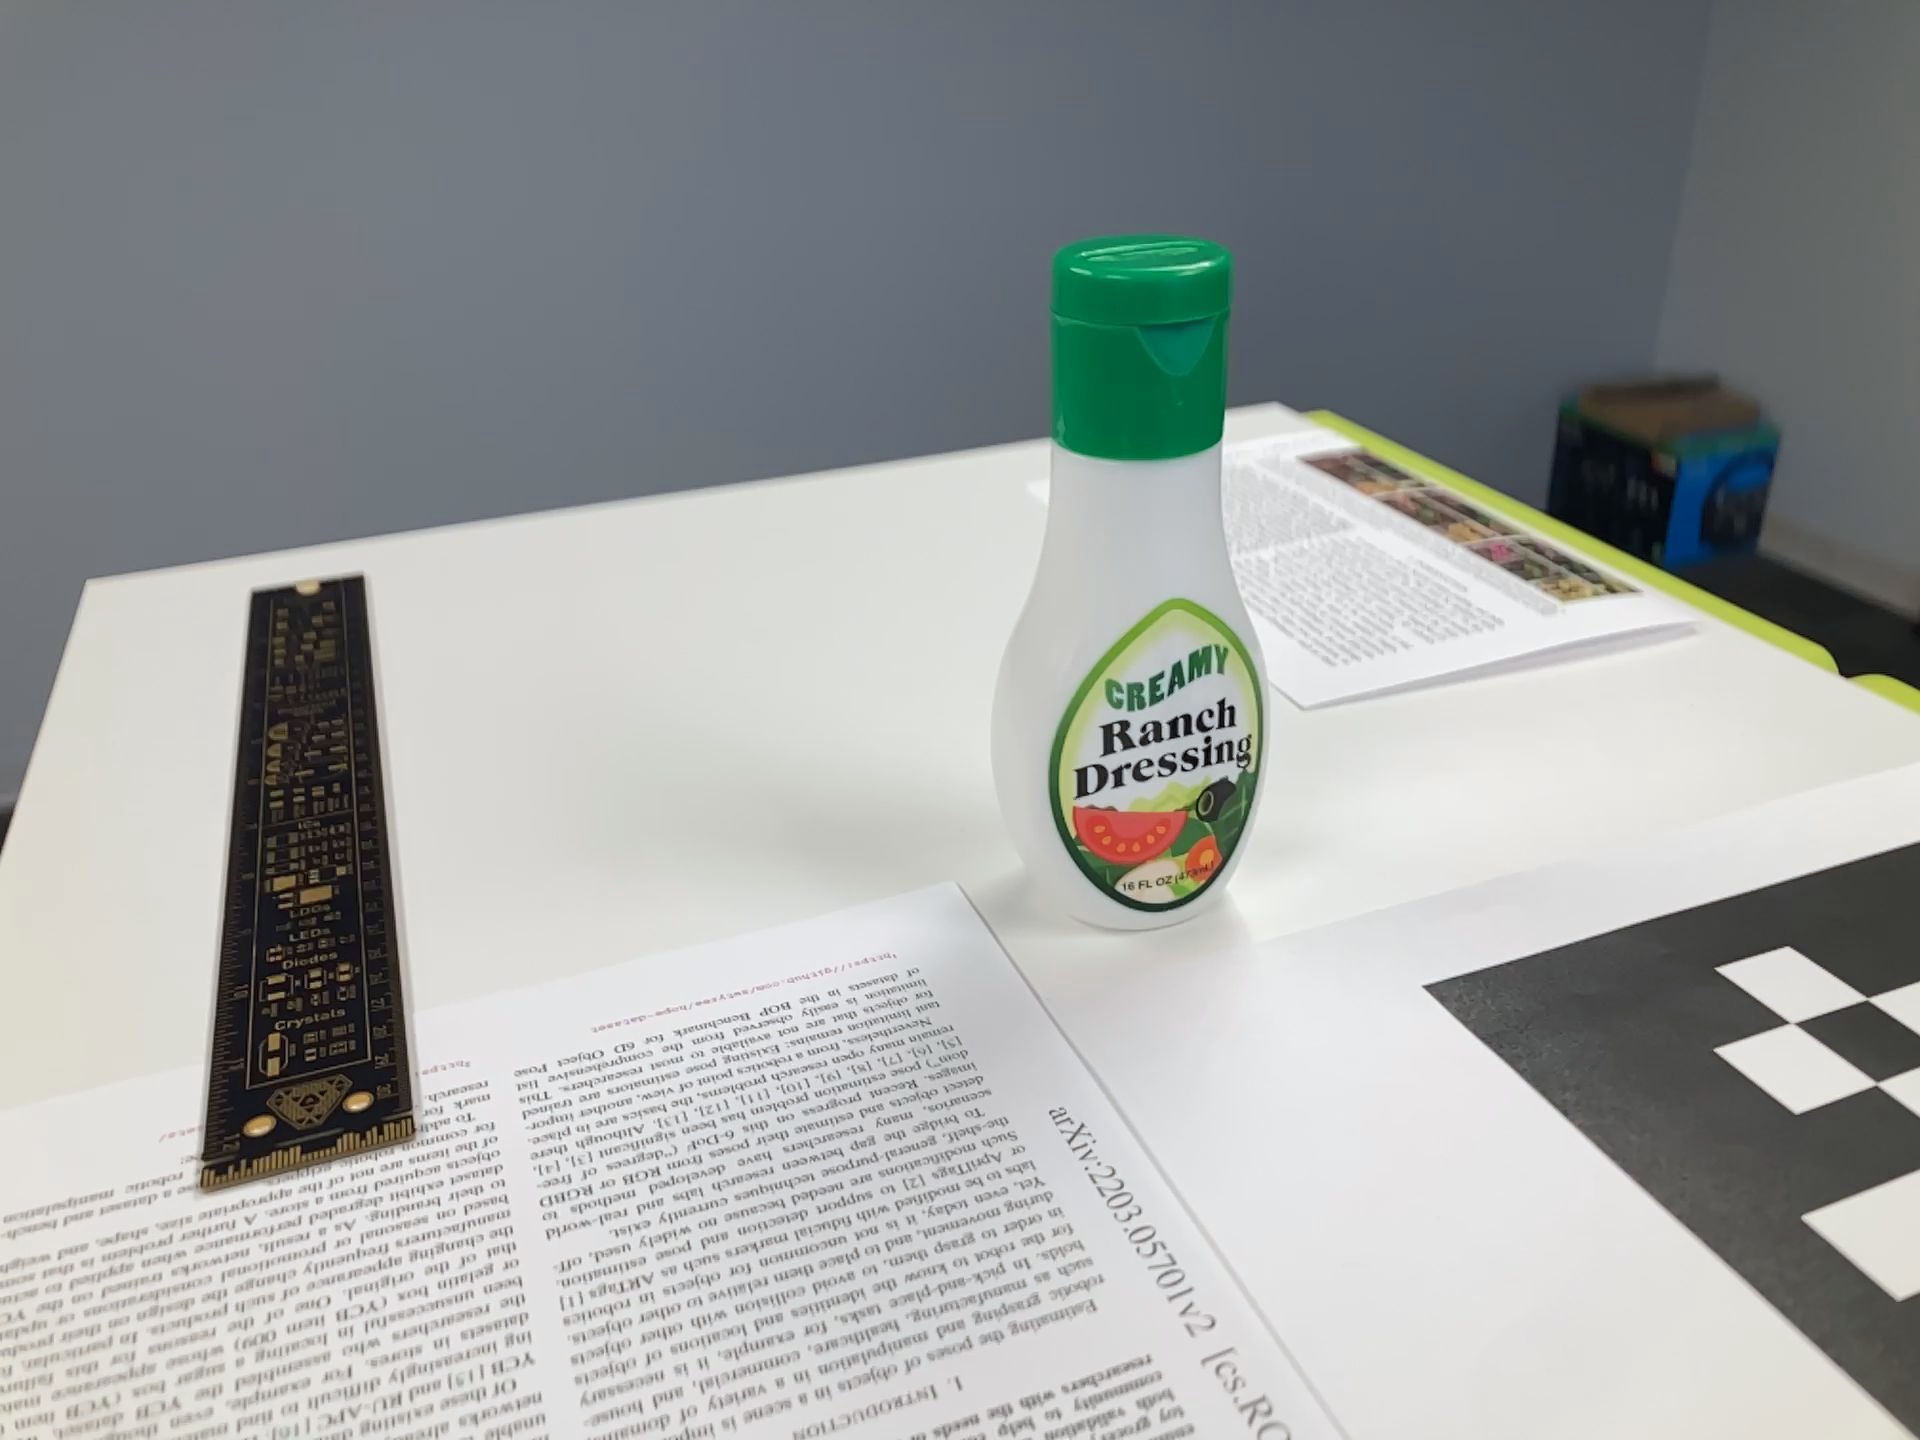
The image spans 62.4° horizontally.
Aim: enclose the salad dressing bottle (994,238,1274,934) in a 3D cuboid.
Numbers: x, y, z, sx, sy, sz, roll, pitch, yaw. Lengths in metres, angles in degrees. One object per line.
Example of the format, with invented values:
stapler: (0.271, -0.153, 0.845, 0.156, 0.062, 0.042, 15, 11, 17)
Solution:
salad dressing bottle: (0.038, -0.026, 0.345, 0.064, 0.147, 0.044, -12, 28, -17)
